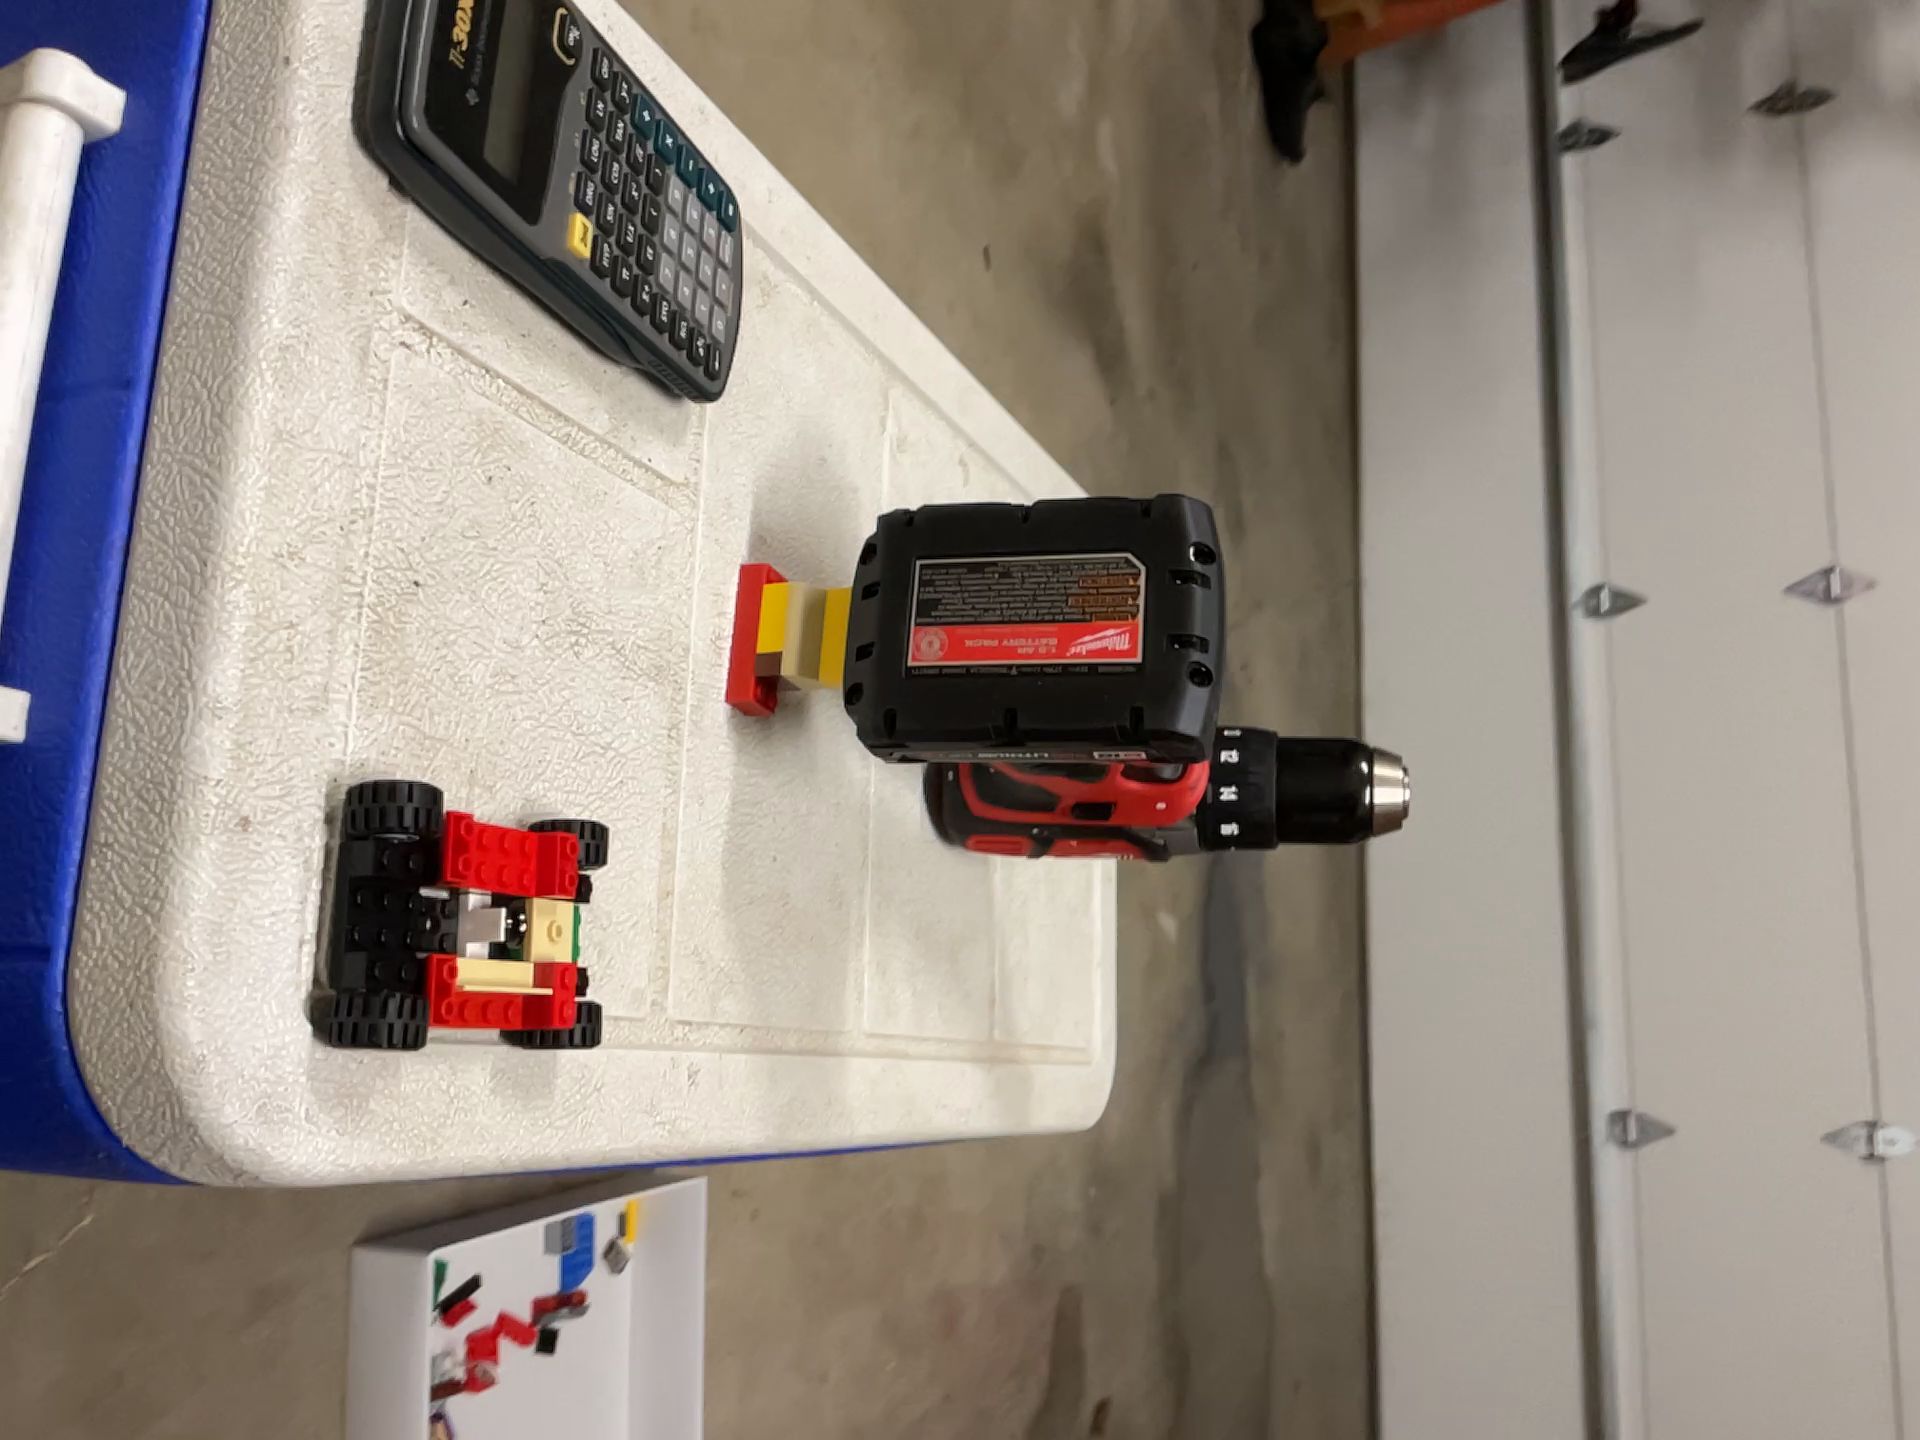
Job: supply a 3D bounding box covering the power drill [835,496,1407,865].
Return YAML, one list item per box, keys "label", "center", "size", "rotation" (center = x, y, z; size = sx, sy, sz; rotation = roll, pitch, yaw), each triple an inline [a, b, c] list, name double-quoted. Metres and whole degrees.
- label: "power drill"
  center: [0.065, 0.003, 0.576]
  size: [0.226, 0.188, 0.080]
  rotation: [53, 40, -67]
